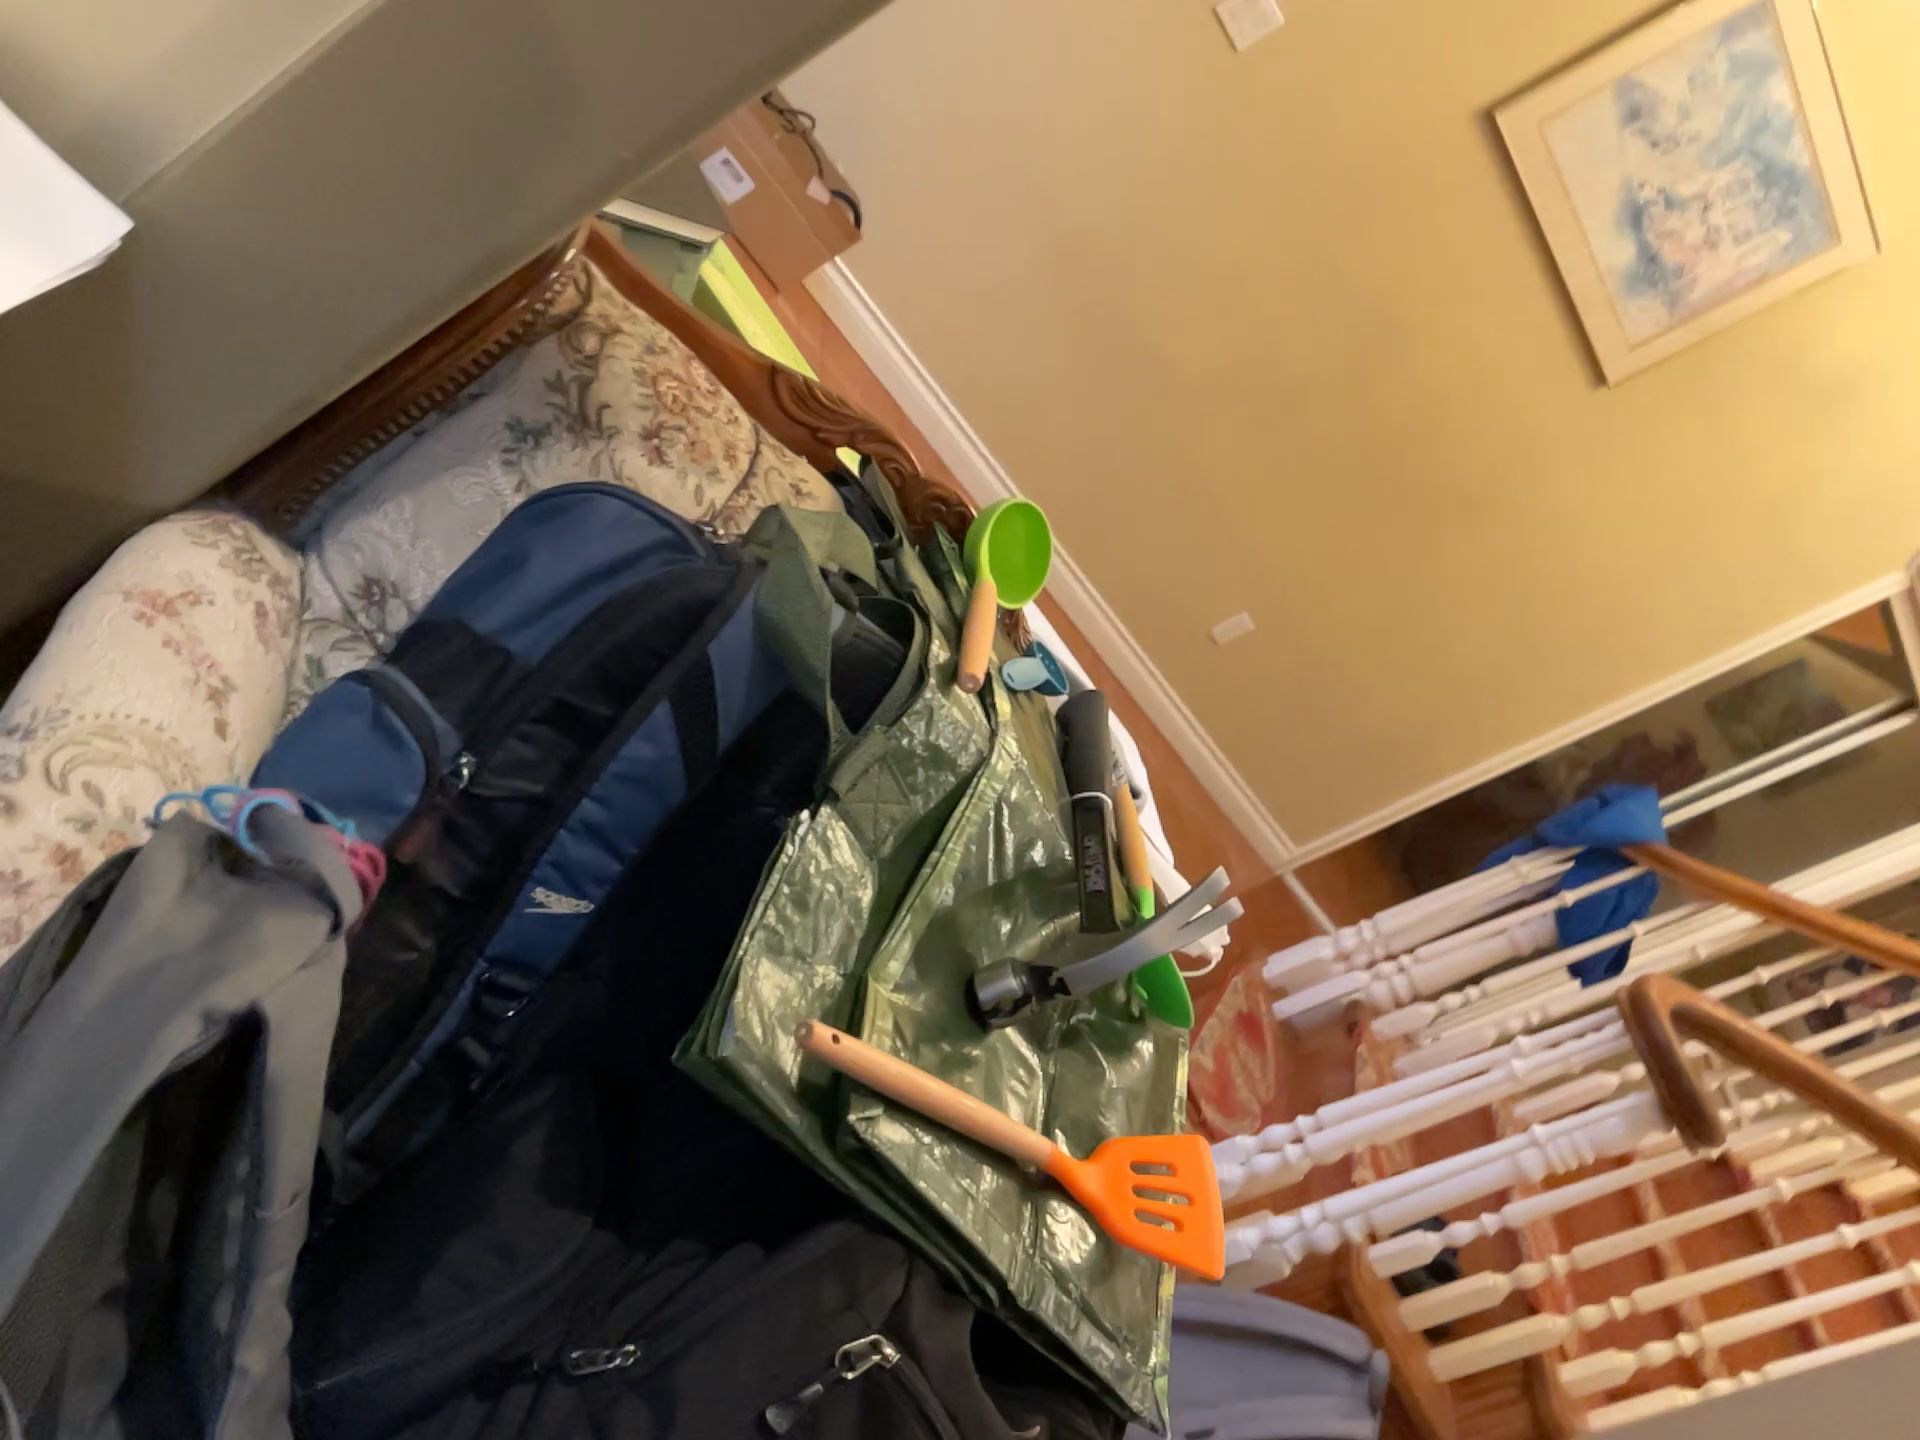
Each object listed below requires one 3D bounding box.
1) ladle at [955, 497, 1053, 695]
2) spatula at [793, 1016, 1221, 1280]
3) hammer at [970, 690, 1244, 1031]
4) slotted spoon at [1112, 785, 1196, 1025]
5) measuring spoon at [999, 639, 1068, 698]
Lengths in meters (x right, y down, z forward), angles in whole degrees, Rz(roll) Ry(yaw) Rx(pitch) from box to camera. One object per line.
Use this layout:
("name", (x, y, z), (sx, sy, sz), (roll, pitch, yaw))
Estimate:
("ladle", (0.026, -0.074, 0.984), (0.320, 0.062, 0.078), (-80, 163, -70))
("spatula", (0.033, 0.206, 0.790), (0.322, 0.041, 0.081), (38, 38, -41))
("hammer", (0.088, 0.060, 1.018), (0.409, 0.149, 0.036), (-81, 148, -69))
("slotted spoon", (0.121, 0.111, 1.073), (0.314, 0.031, 0.070), (-90, 162, -70))
("measuring spoon", (0.039, -0.027, 1.015), (0.042, 0.021, 0.128), (61, 19, 4))
